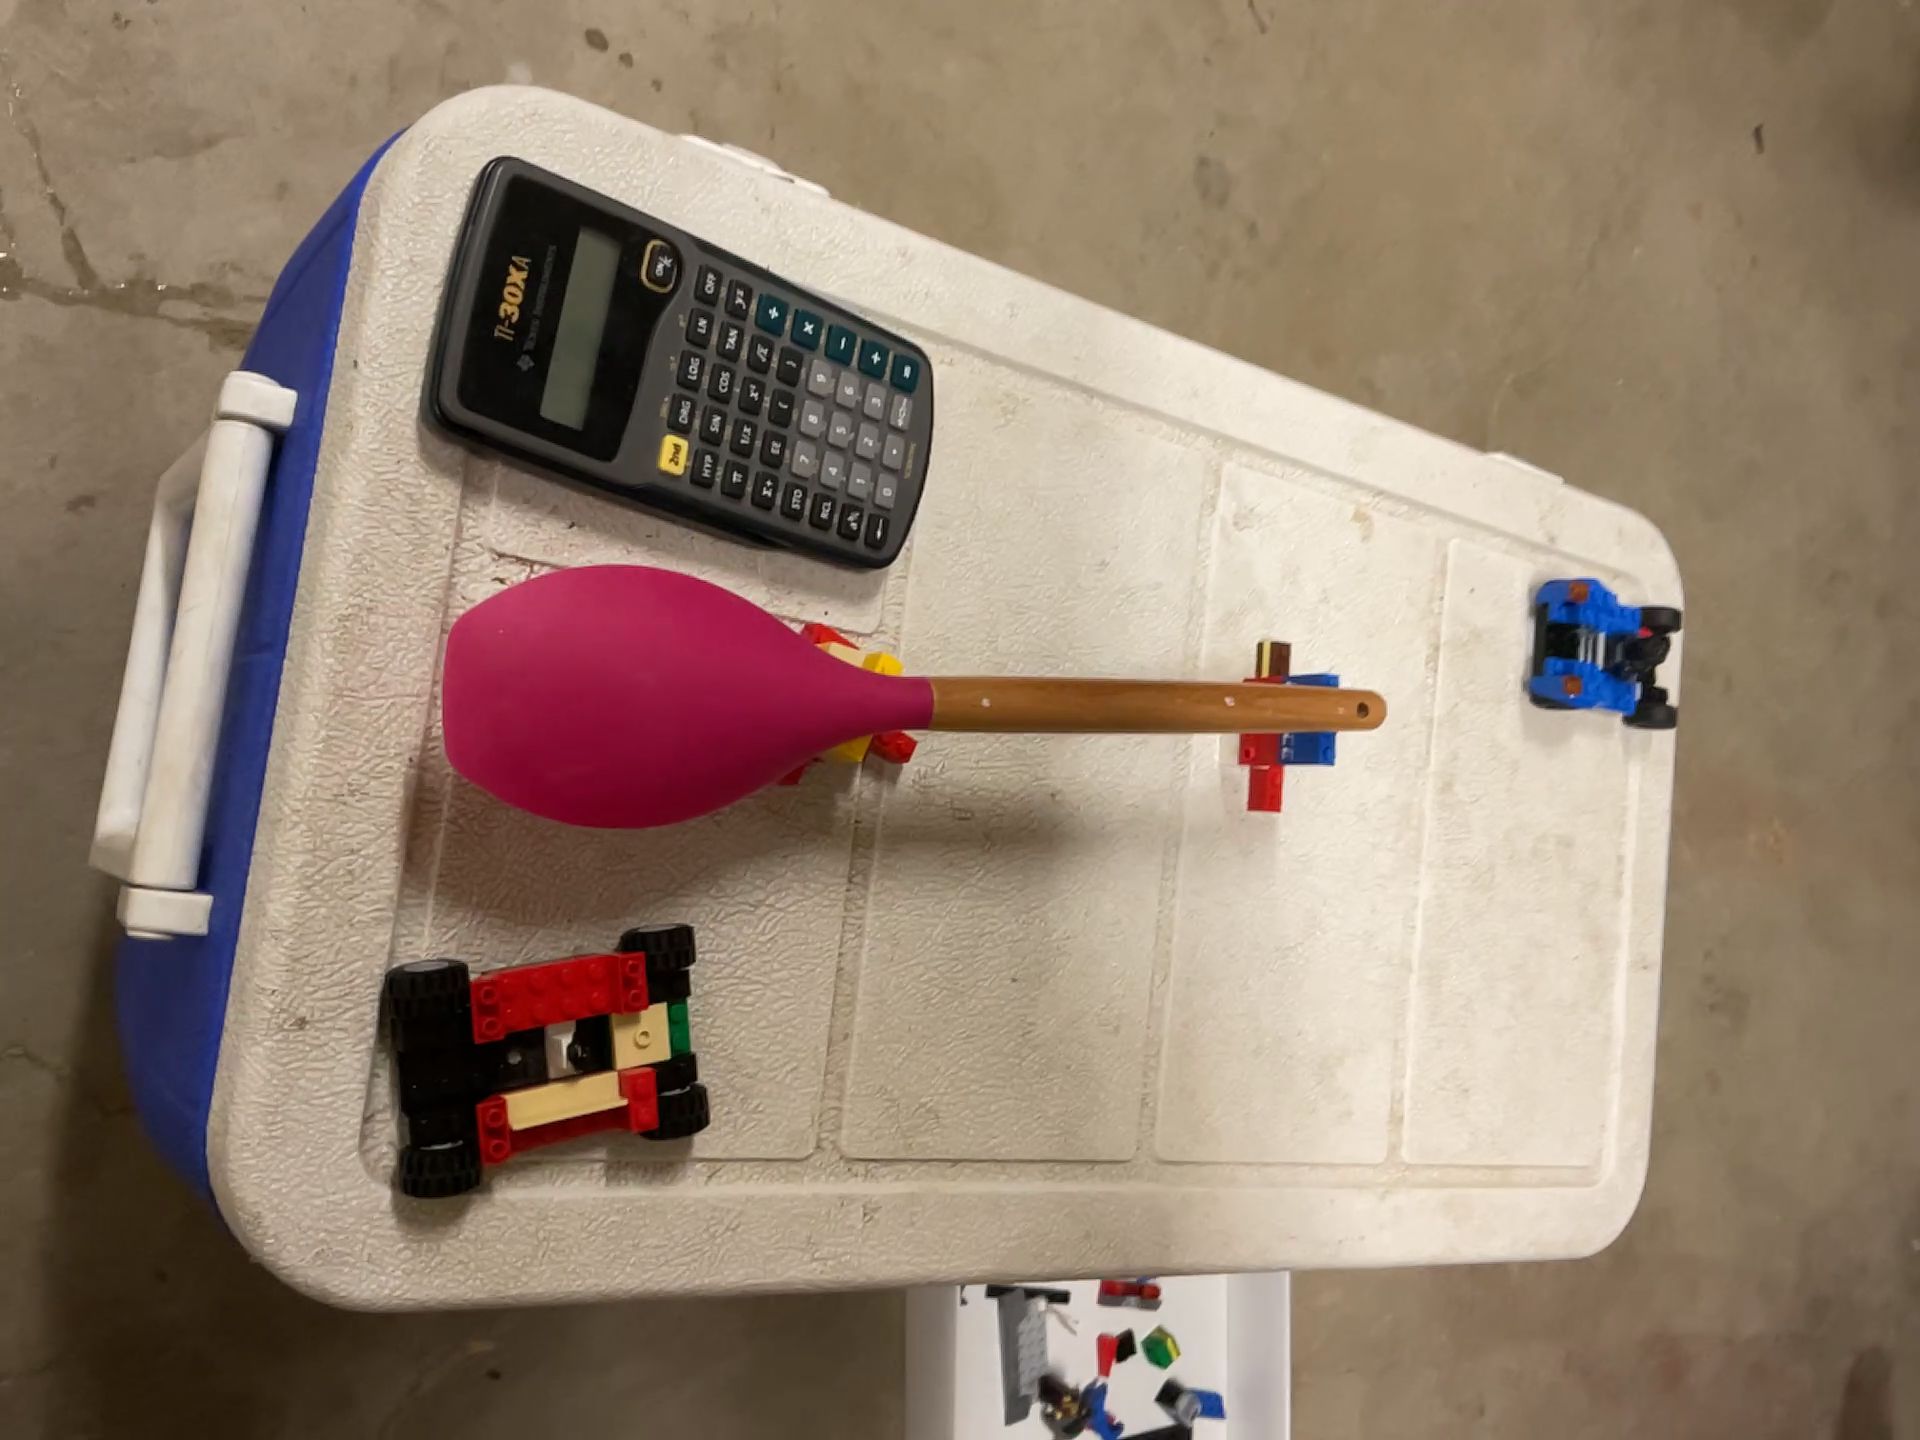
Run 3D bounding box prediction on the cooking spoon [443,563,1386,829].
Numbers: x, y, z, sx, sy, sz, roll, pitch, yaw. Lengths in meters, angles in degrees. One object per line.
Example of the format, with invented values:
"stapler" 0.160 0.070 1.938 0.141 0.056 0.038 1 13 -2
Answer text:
"cooking spoon" 0.010 -0.005 0.470 0.319 0.017 0.069 0 93 -33
